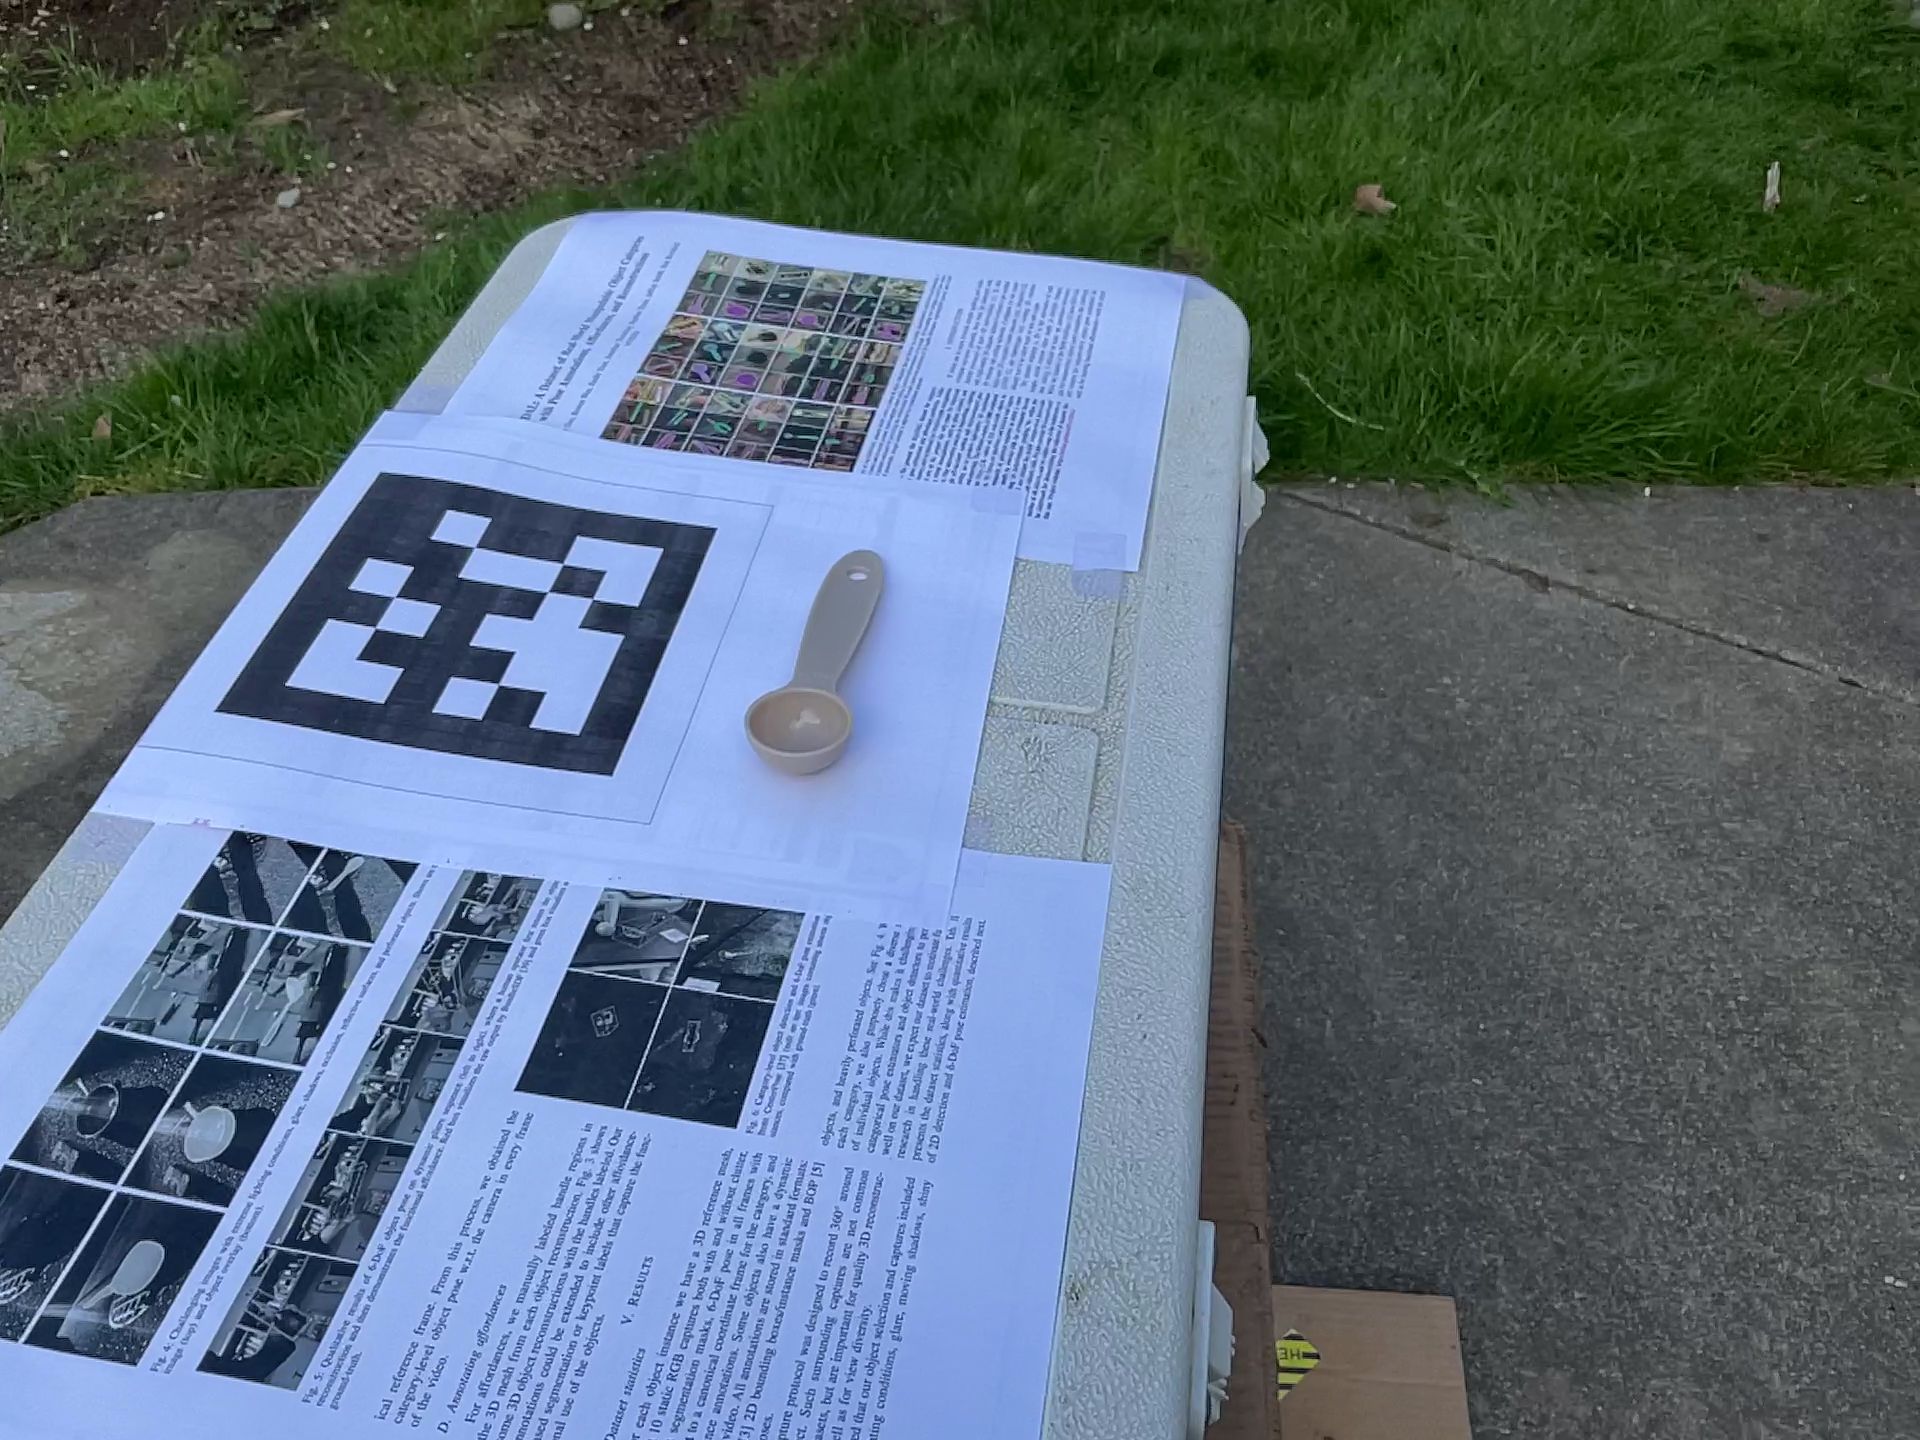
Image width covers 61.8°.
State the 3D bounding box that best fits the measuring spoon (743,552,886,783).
[{"bbox_3d":[-0.042,-0.018,0.525,0.034,0.018,0.124,6,37,6],"label":"measuring spoon"}]
